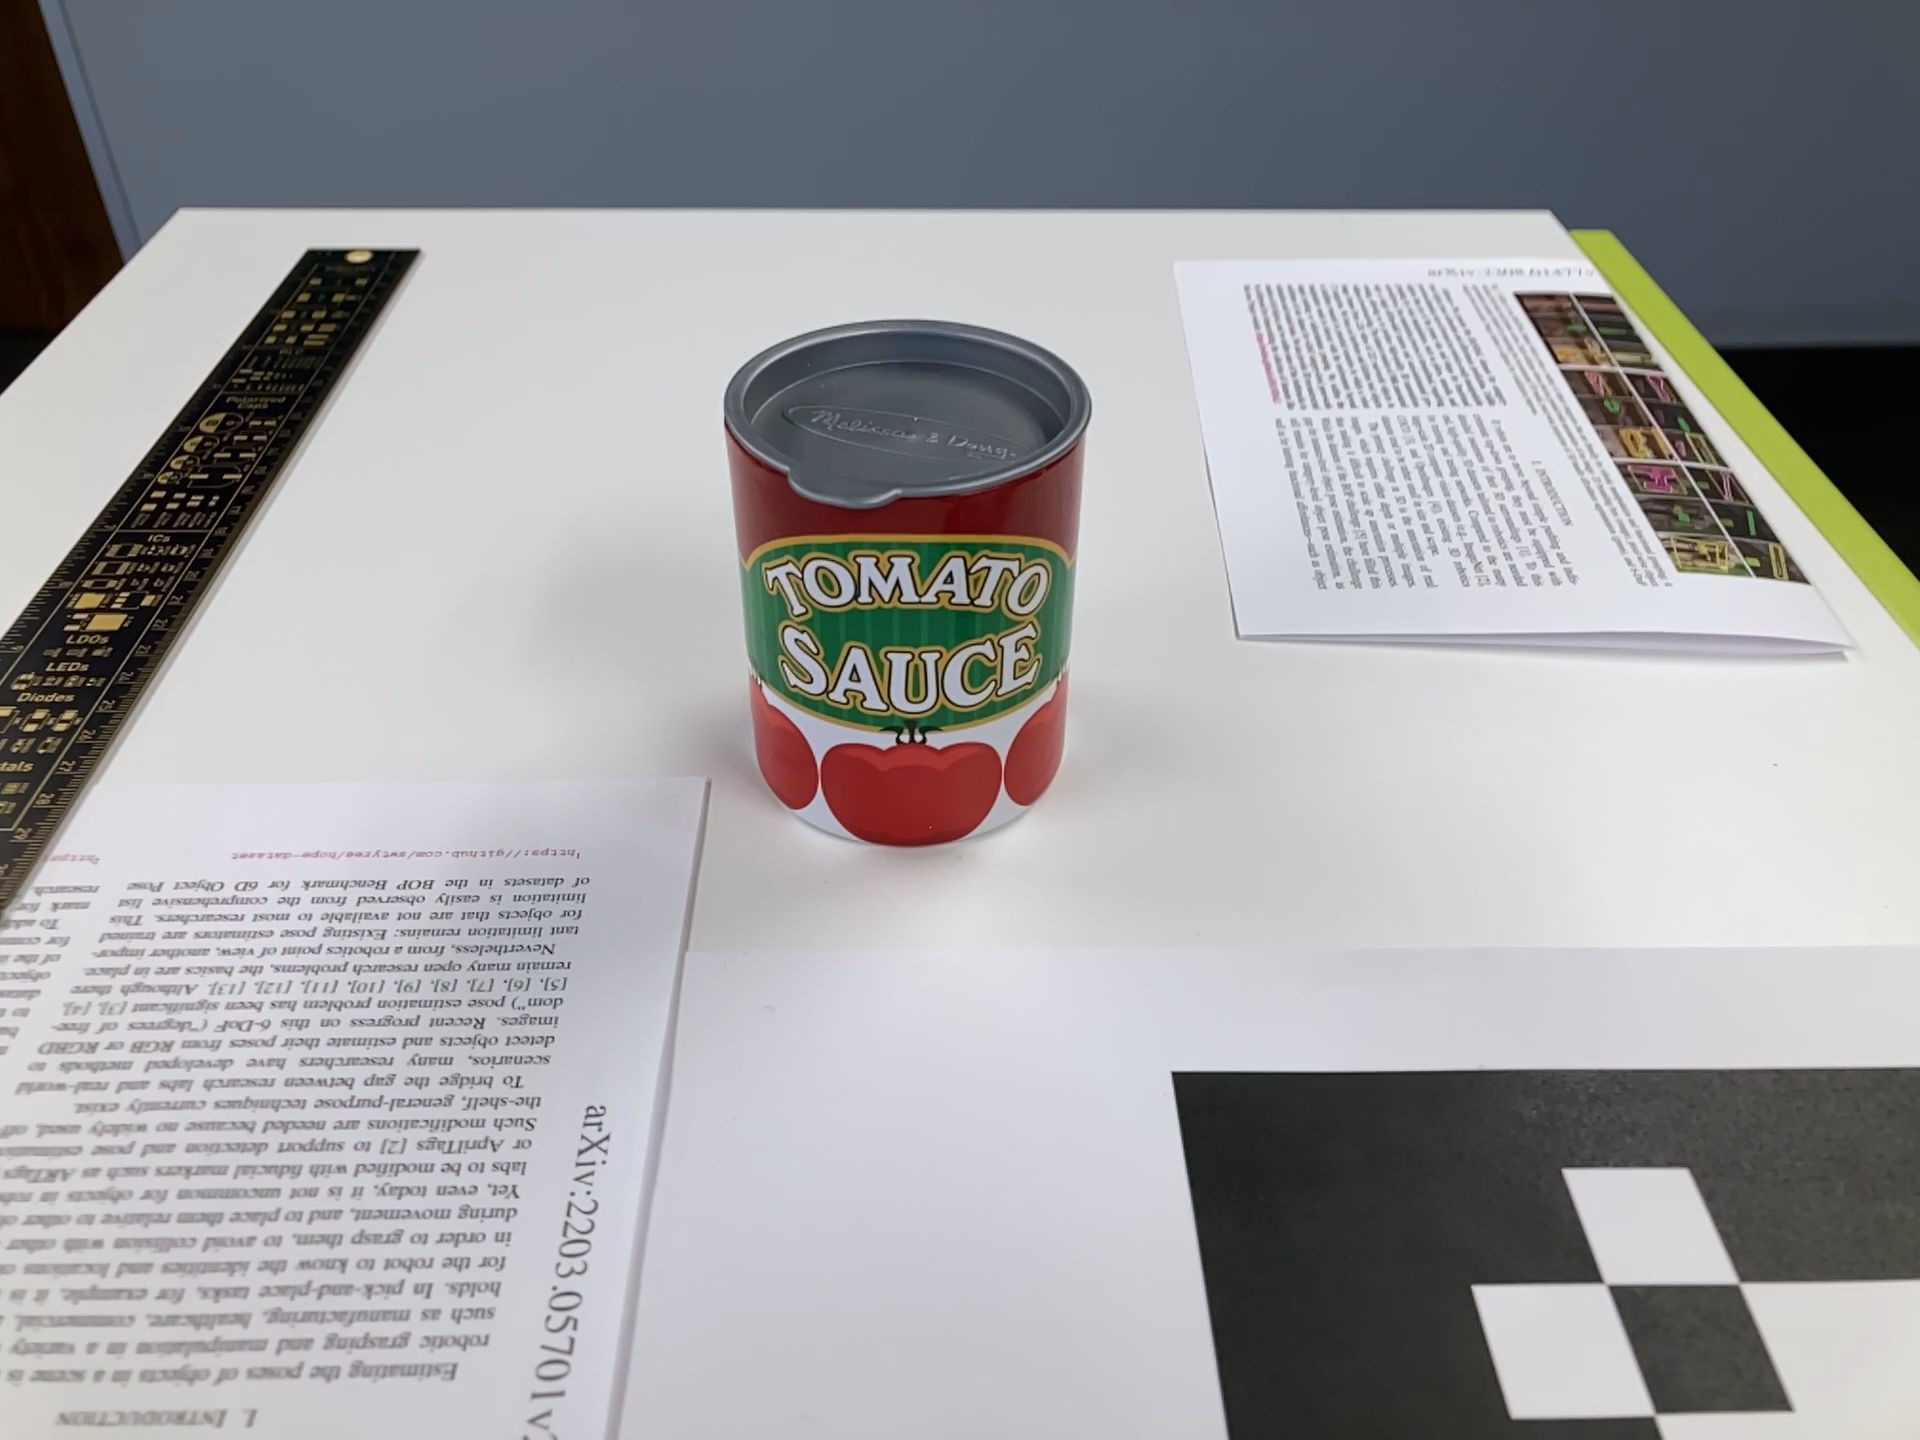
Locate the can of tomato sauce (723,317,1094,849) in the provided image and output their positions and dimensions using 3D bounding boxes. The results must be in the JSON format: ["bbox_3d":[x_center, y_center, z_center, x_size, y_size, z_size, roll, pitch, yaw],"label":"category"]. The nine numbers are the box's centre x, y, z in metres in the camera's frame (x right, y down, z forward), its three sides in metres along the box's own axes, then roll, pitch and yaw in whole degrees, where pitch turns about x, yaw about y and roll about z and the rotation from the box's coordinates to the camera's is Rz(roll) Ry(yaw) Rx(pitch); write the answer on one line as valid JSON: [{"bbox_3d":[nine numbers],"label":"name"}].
[{"bbox_3d":[-0.010,-0.025,0.310,0.071,0.083,0.071,0,38,0],"label":"can of tomato sauce"}]
